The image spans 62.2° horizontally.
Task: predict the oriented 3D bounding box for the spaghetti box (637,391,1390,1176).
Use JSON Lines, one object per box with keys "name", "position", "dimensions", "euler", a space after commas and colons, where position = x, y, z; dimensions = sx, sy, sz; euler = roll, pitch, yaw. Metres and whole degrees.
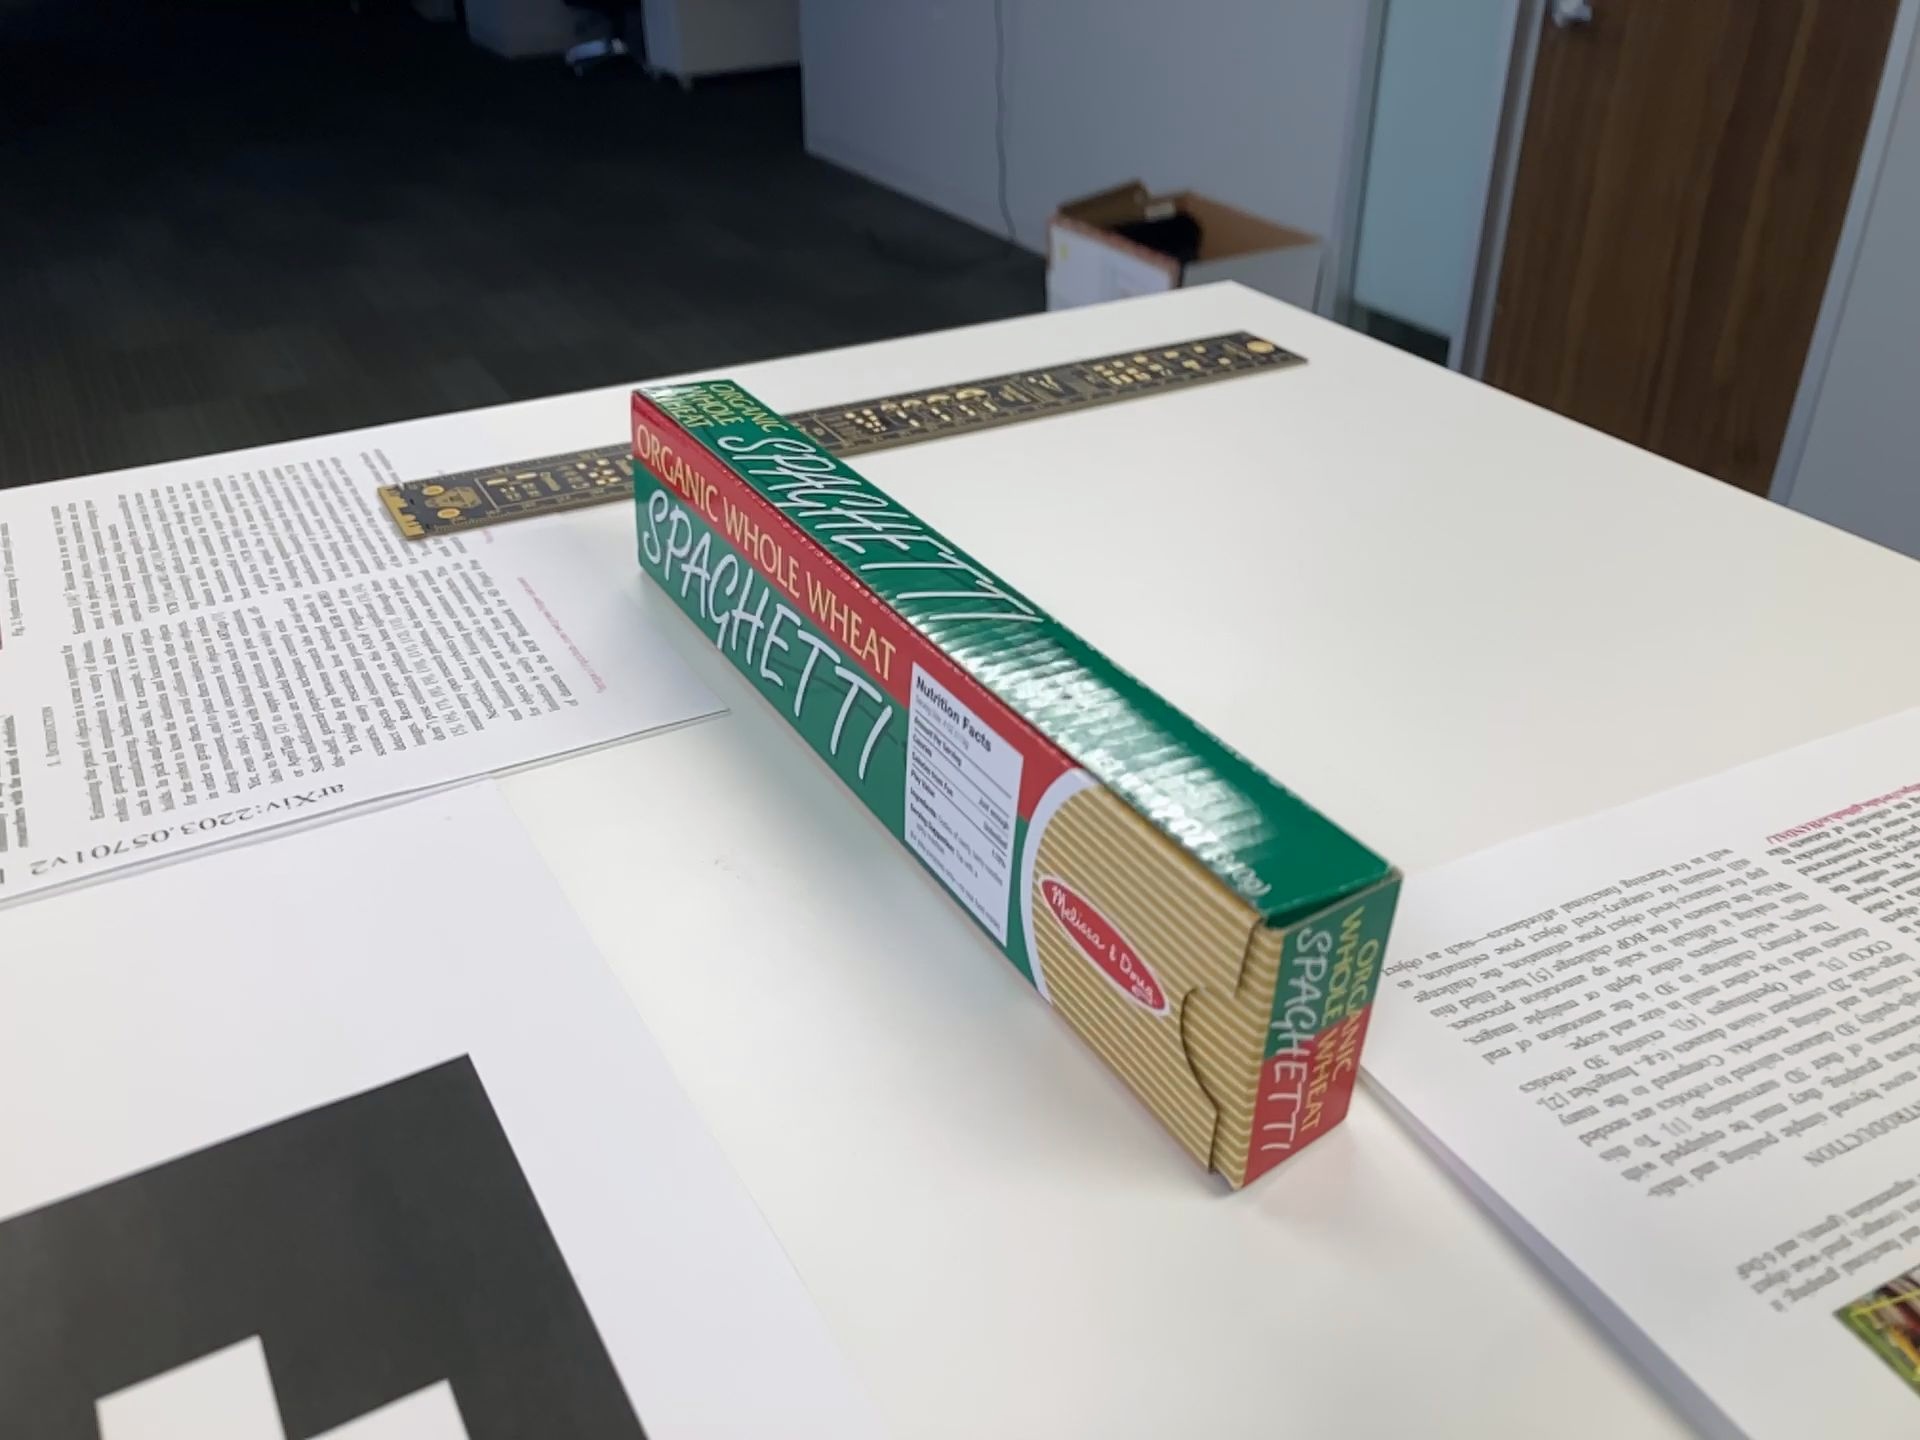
{"name": "spaghetti box", "position": [-0.011, -0.009, 0.329], "dimensions": [0.028, 0.050, 0.250], "euler": [-12, 33, -28]}
